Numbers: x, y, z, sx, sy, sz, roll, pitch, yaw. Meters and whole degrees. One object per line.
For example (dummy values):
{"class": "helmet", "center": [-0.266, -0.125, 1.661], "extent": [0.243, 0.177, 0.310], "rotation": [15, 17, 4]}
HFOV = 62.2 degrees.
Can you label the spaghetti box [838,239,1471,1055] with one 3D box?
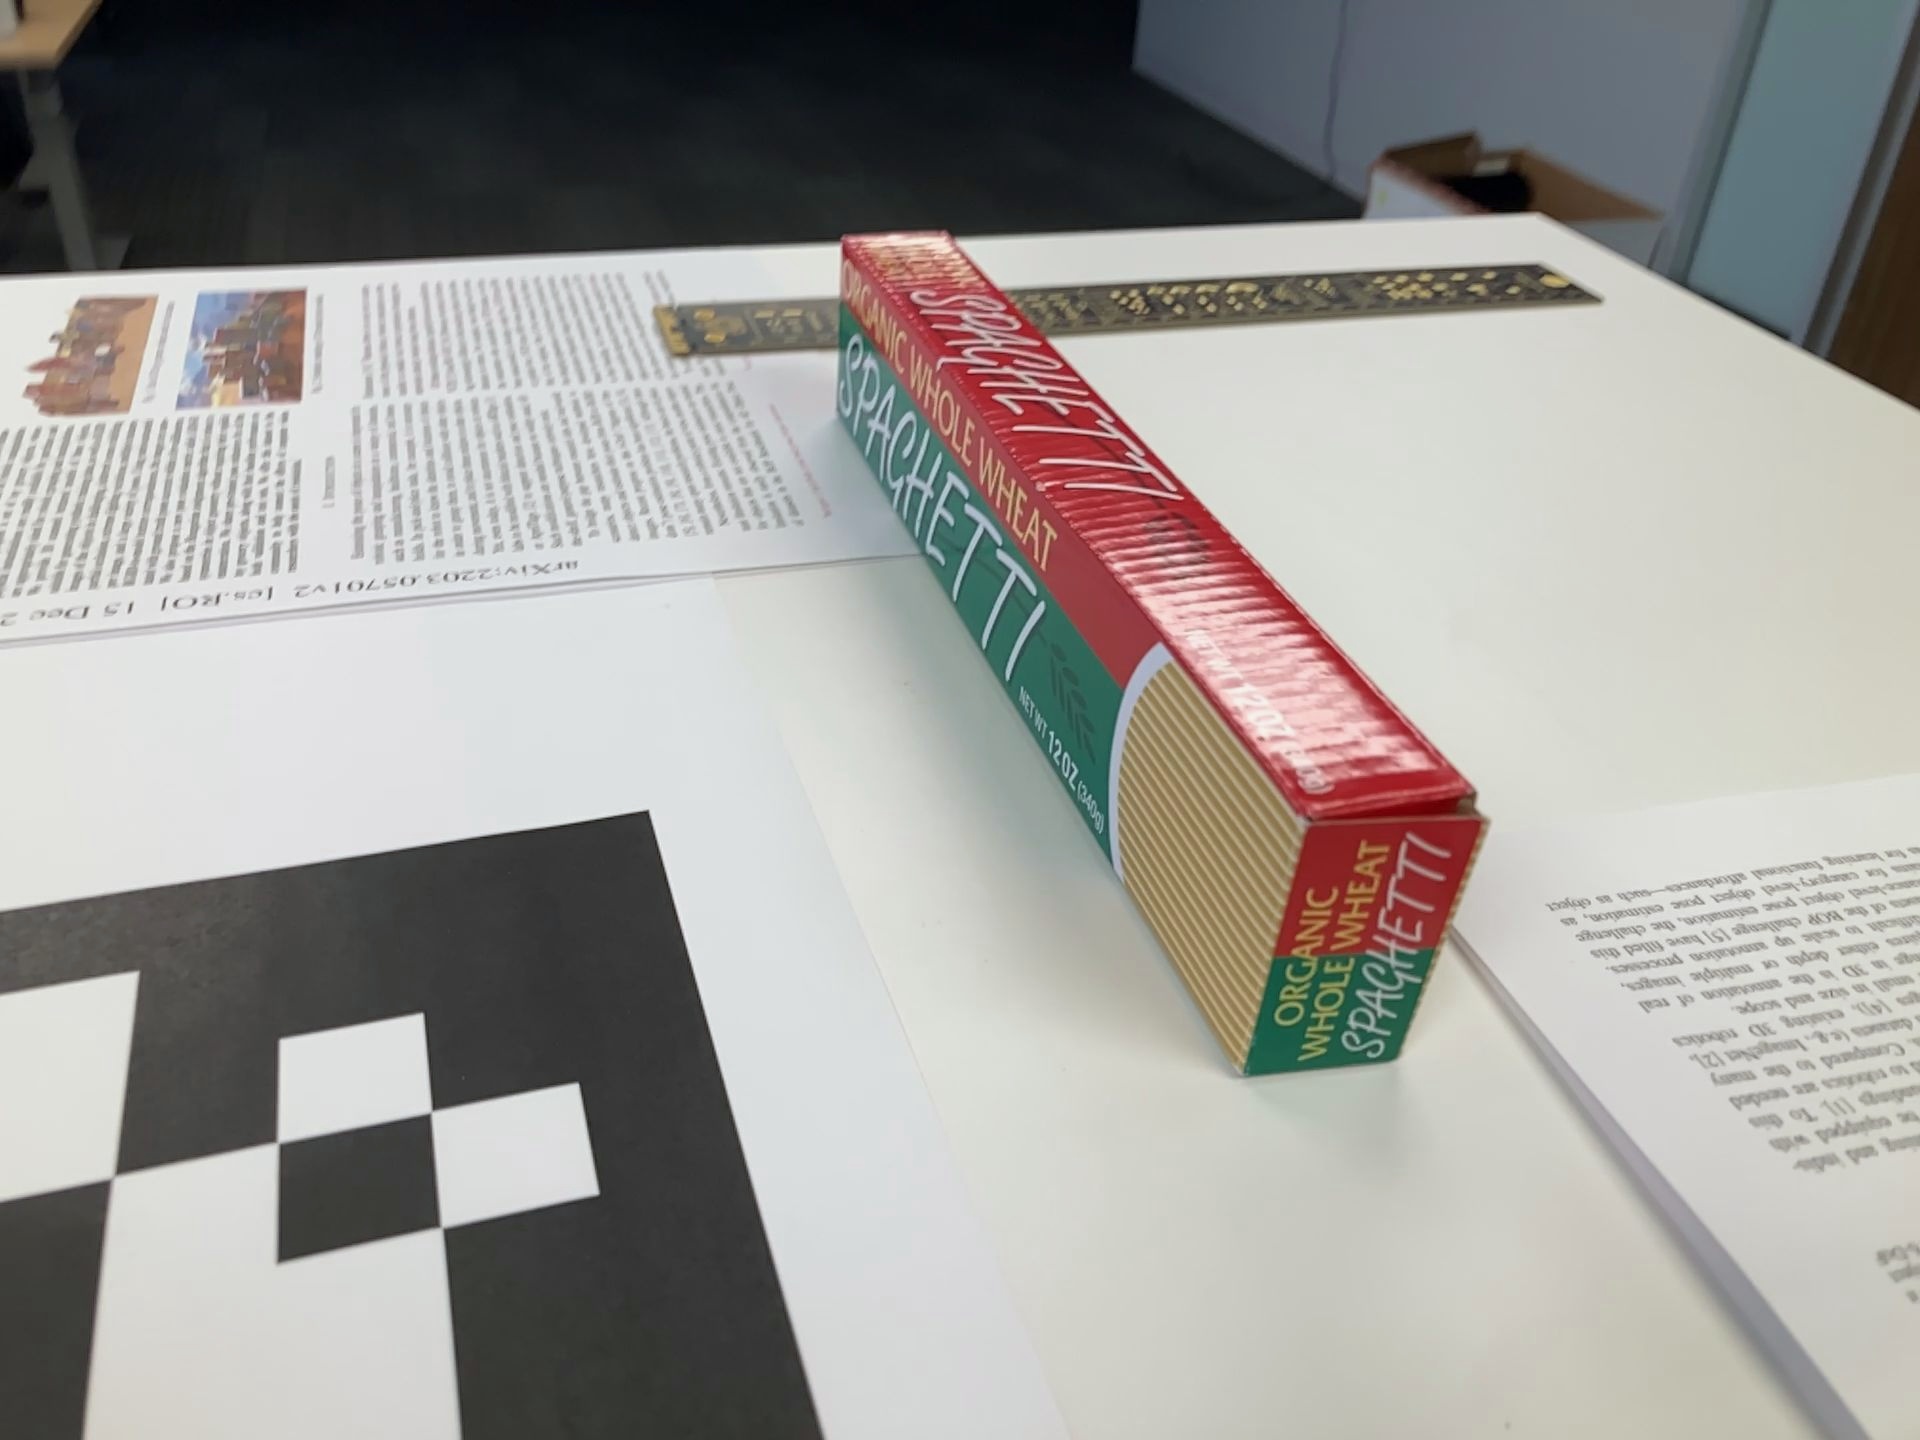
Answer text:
{"class": "spaghetti box", "center": [0.019, -0.037, 0.327], "extent": [0.028, 0.050, 0.250], "rotation": [-6, 35, -18]}
